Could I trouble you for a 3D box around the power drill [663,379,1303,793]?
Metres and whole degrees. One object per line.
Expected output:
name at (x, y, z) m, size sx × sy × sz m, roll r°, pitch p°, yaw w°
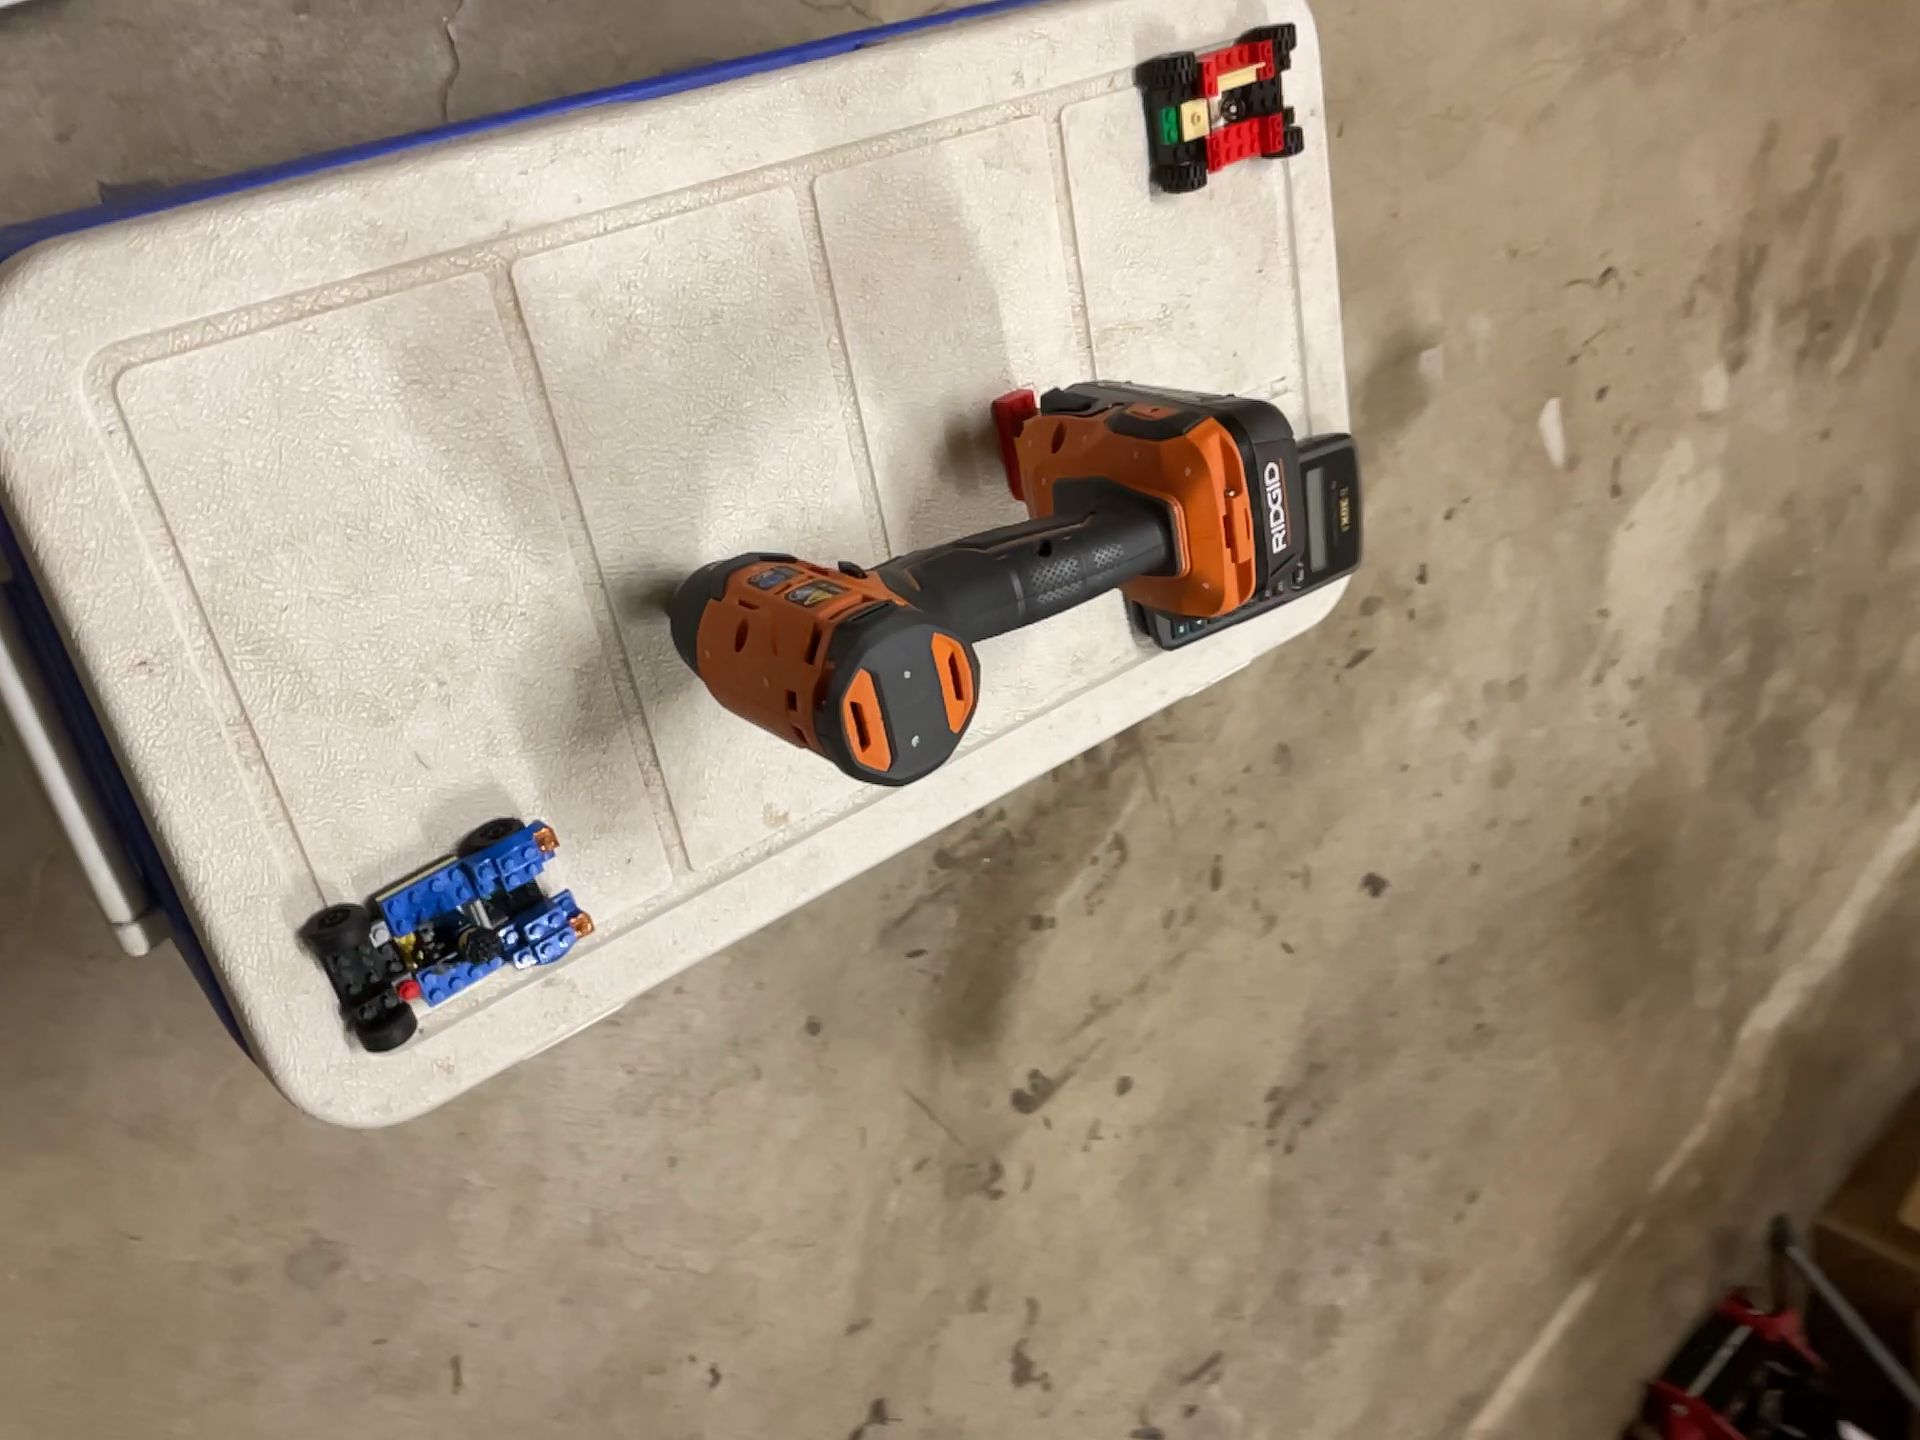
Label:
power drill at (0.001, -0.060, 0.612) m, size 0.226 × 0.164 × 0.084 m, roll -28°, pitch 120°, yaw -28°
